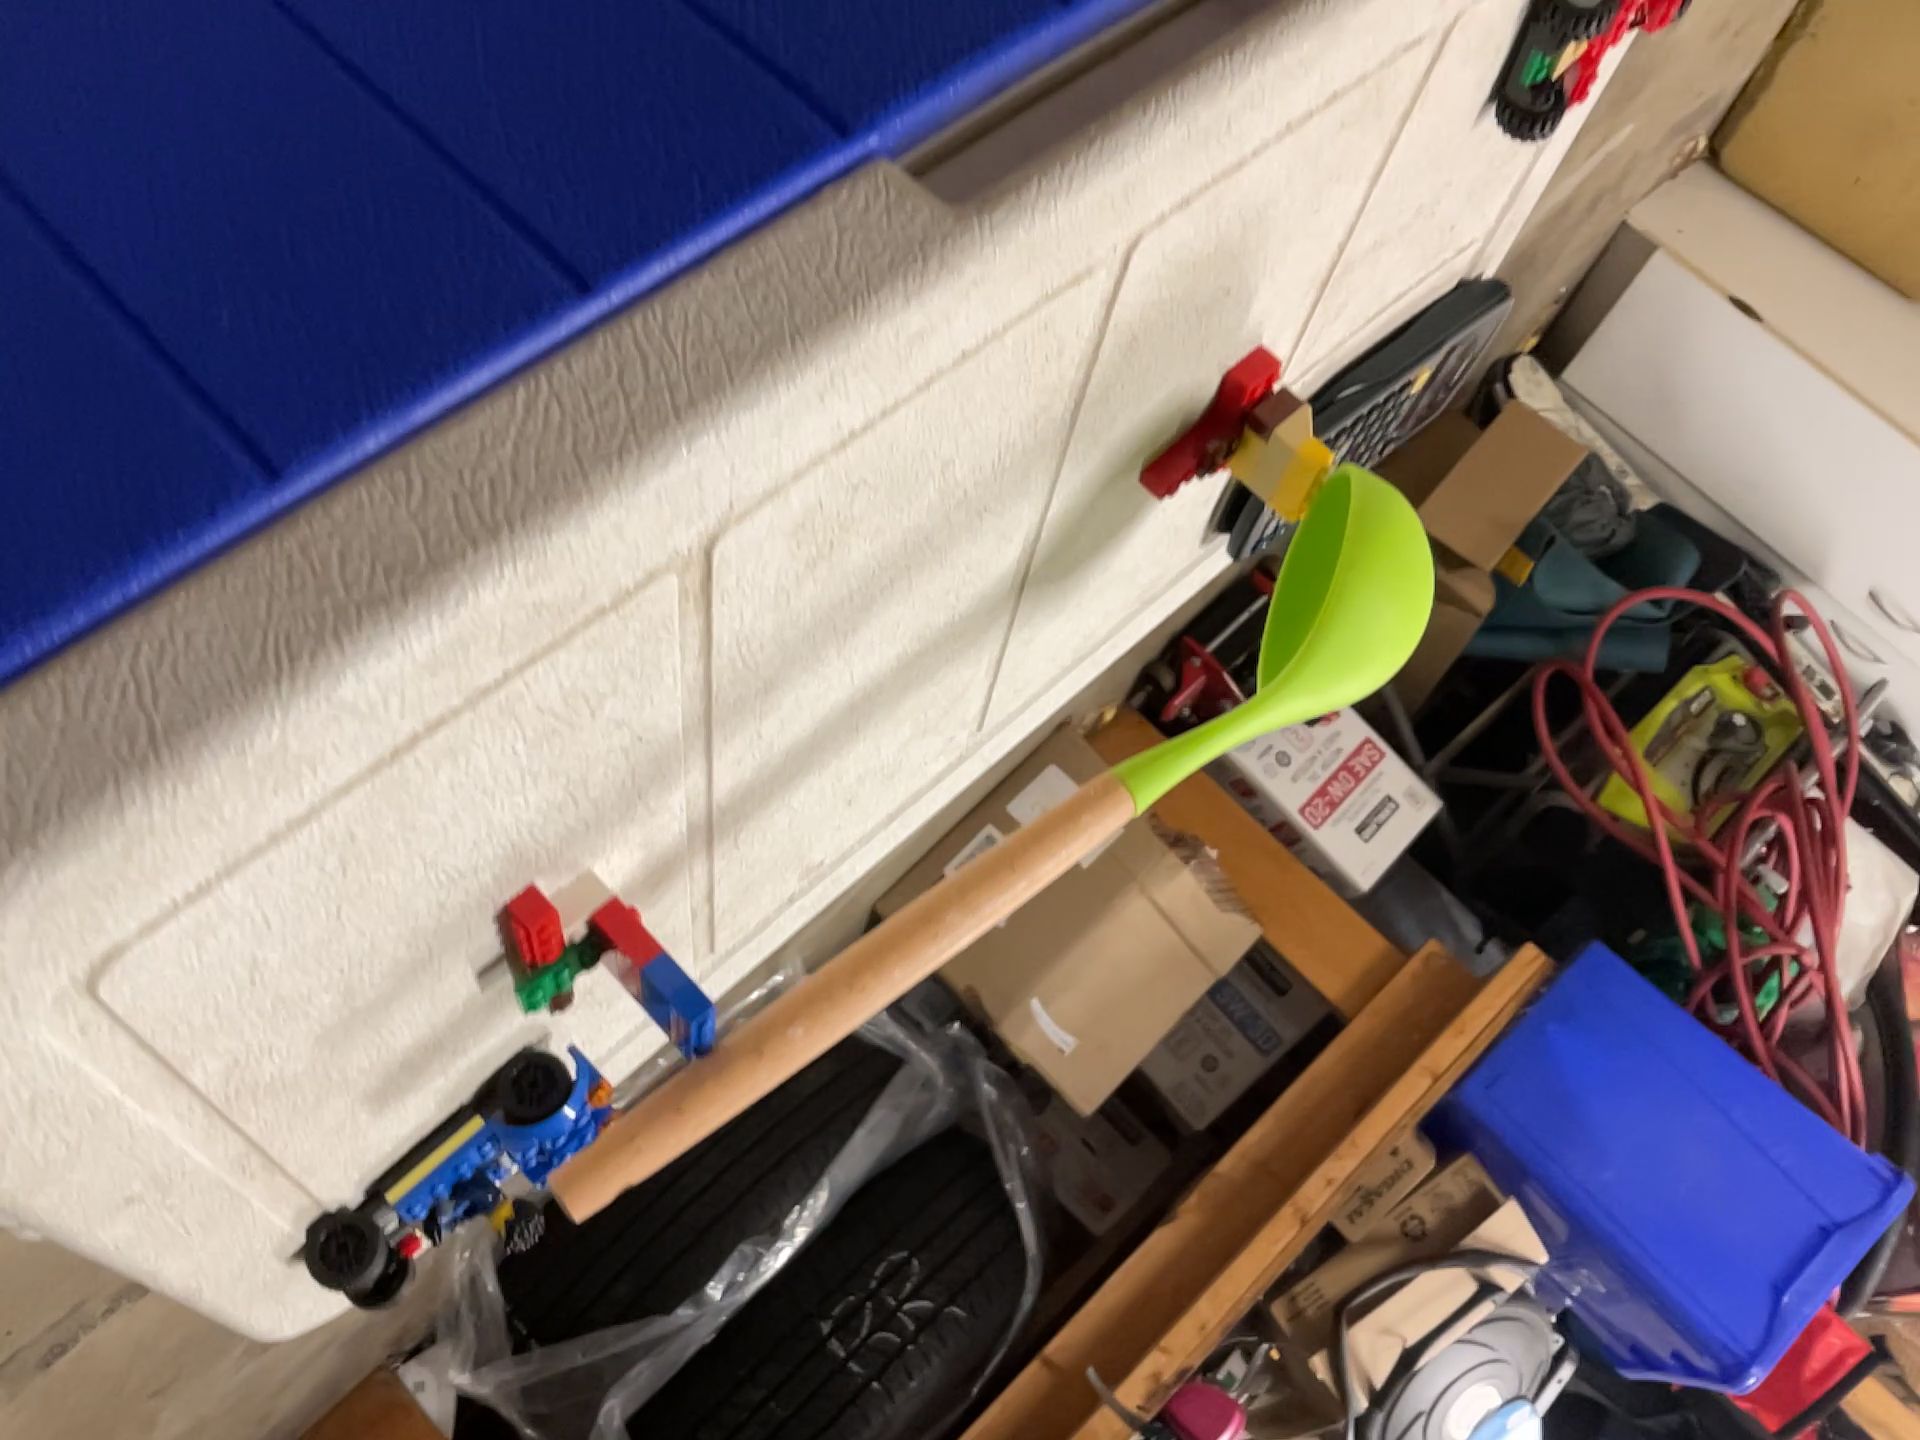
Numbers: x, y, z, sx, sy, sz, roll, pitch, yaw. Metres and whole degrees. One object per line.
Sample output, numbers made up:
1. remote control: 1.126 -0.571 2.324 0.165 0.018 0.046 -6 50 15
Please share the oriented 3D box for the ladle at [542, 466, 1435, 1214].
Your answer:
1. ladle: 0.018 0.025 0.451 0.320 0.062 0.078 -33 168 -21
